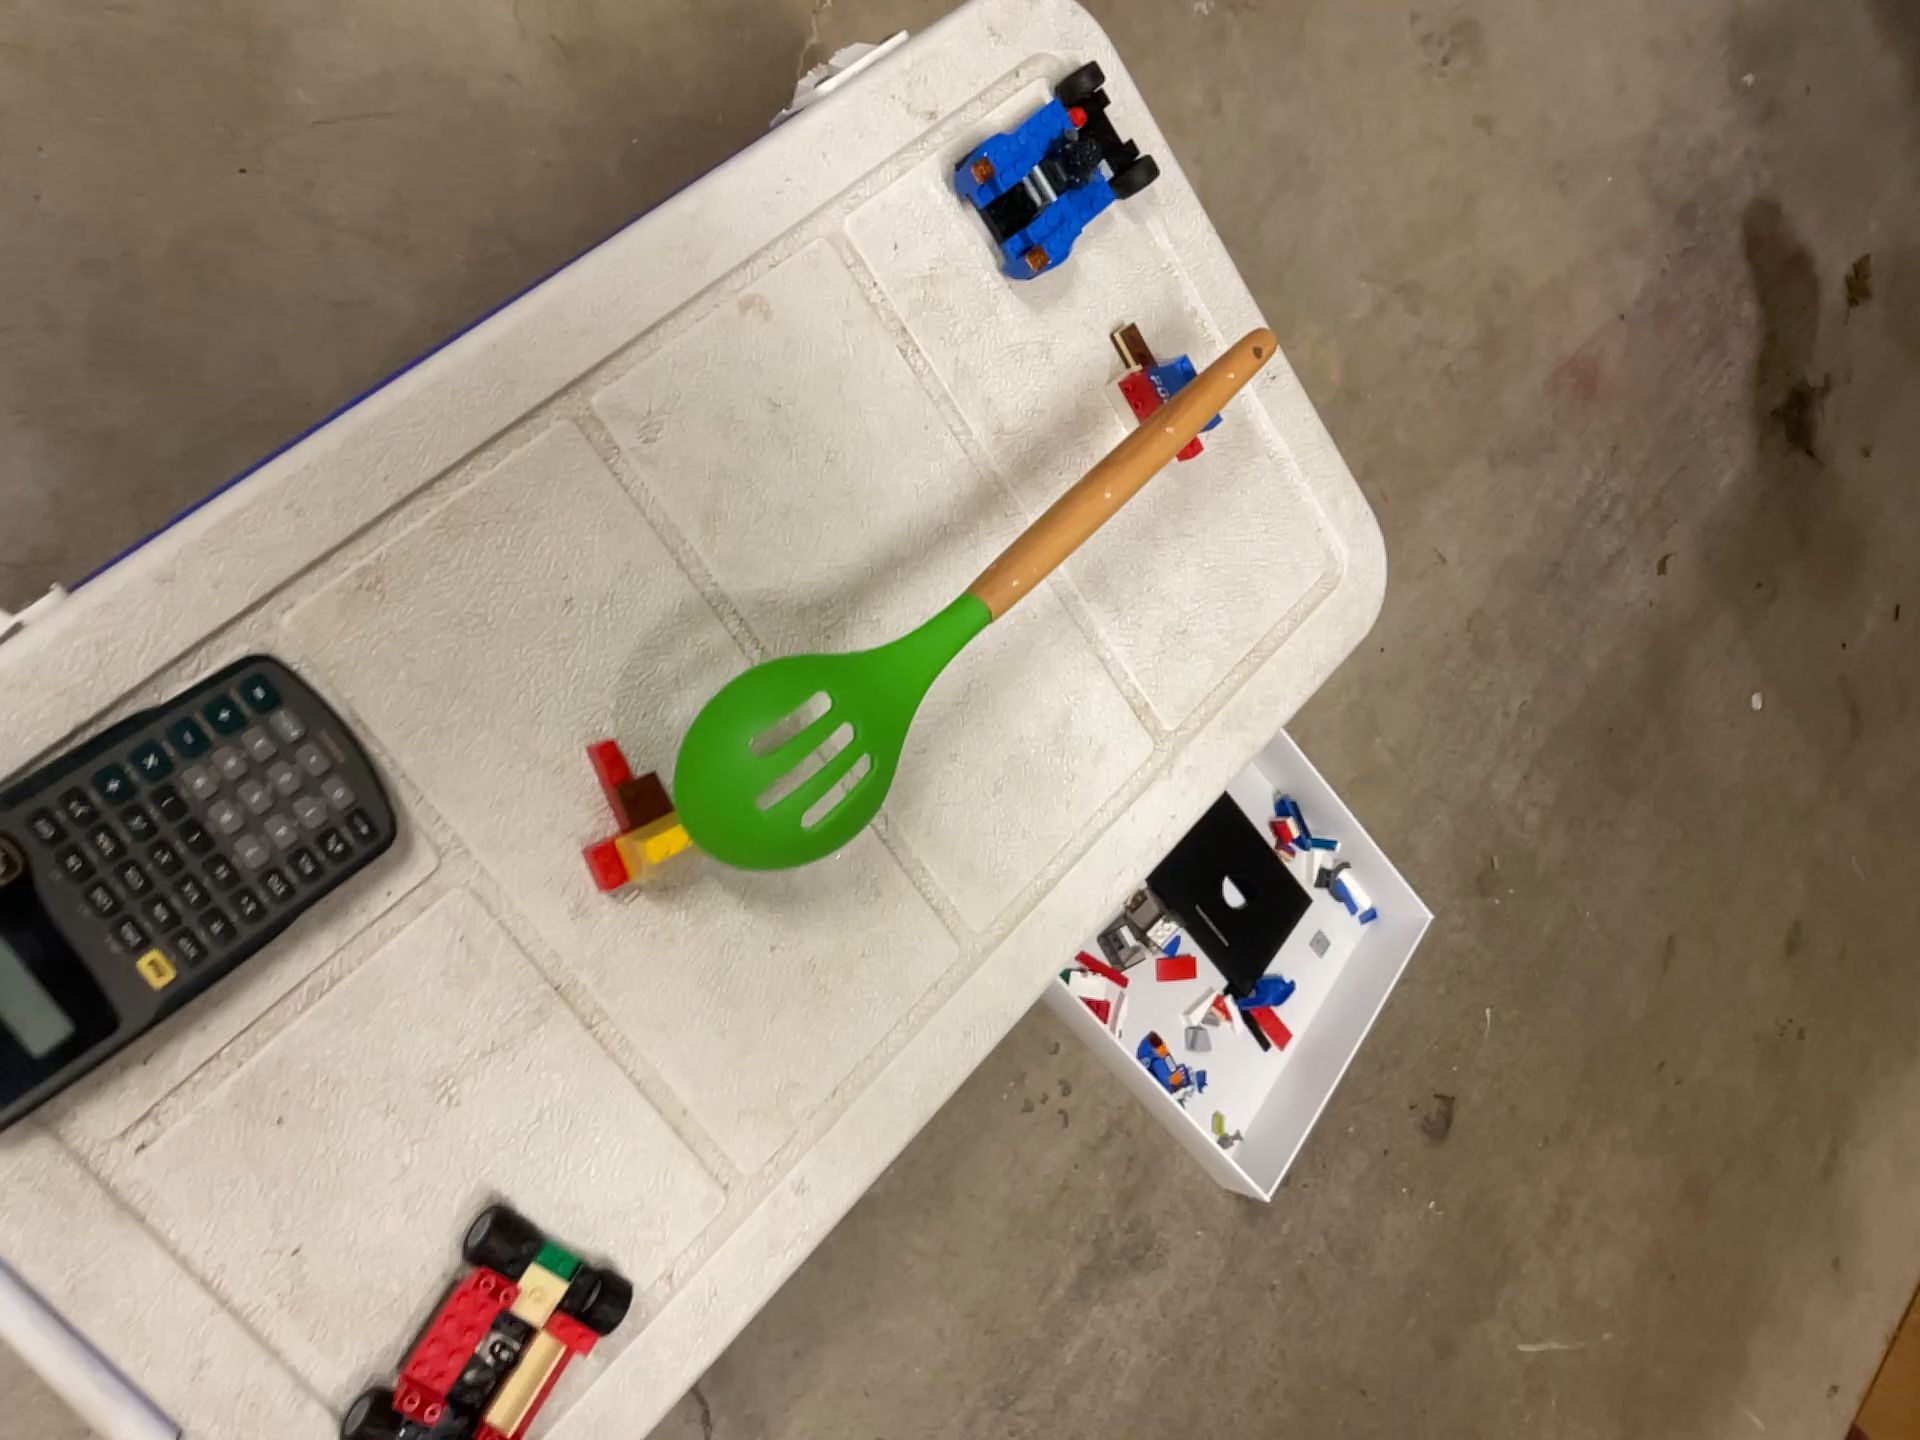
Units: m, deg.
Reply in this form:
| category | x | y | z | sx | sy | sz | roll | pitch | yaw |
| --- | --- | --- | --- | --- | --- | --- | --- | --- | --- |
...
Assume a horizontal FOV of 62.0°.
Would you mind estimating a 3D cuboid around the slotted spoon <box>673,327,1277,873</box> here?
| category | x | y | z | sx | sy | sz | roll | pitch | yaw |
| --- | --- | --- | --- | --- | --- | --- | --- | --- | --- |
| slotted spoon | 0.022 | -0.059 | 0.585 | 0.314 | 0.031 | 0.070 | -44 | 109 | -25 |
